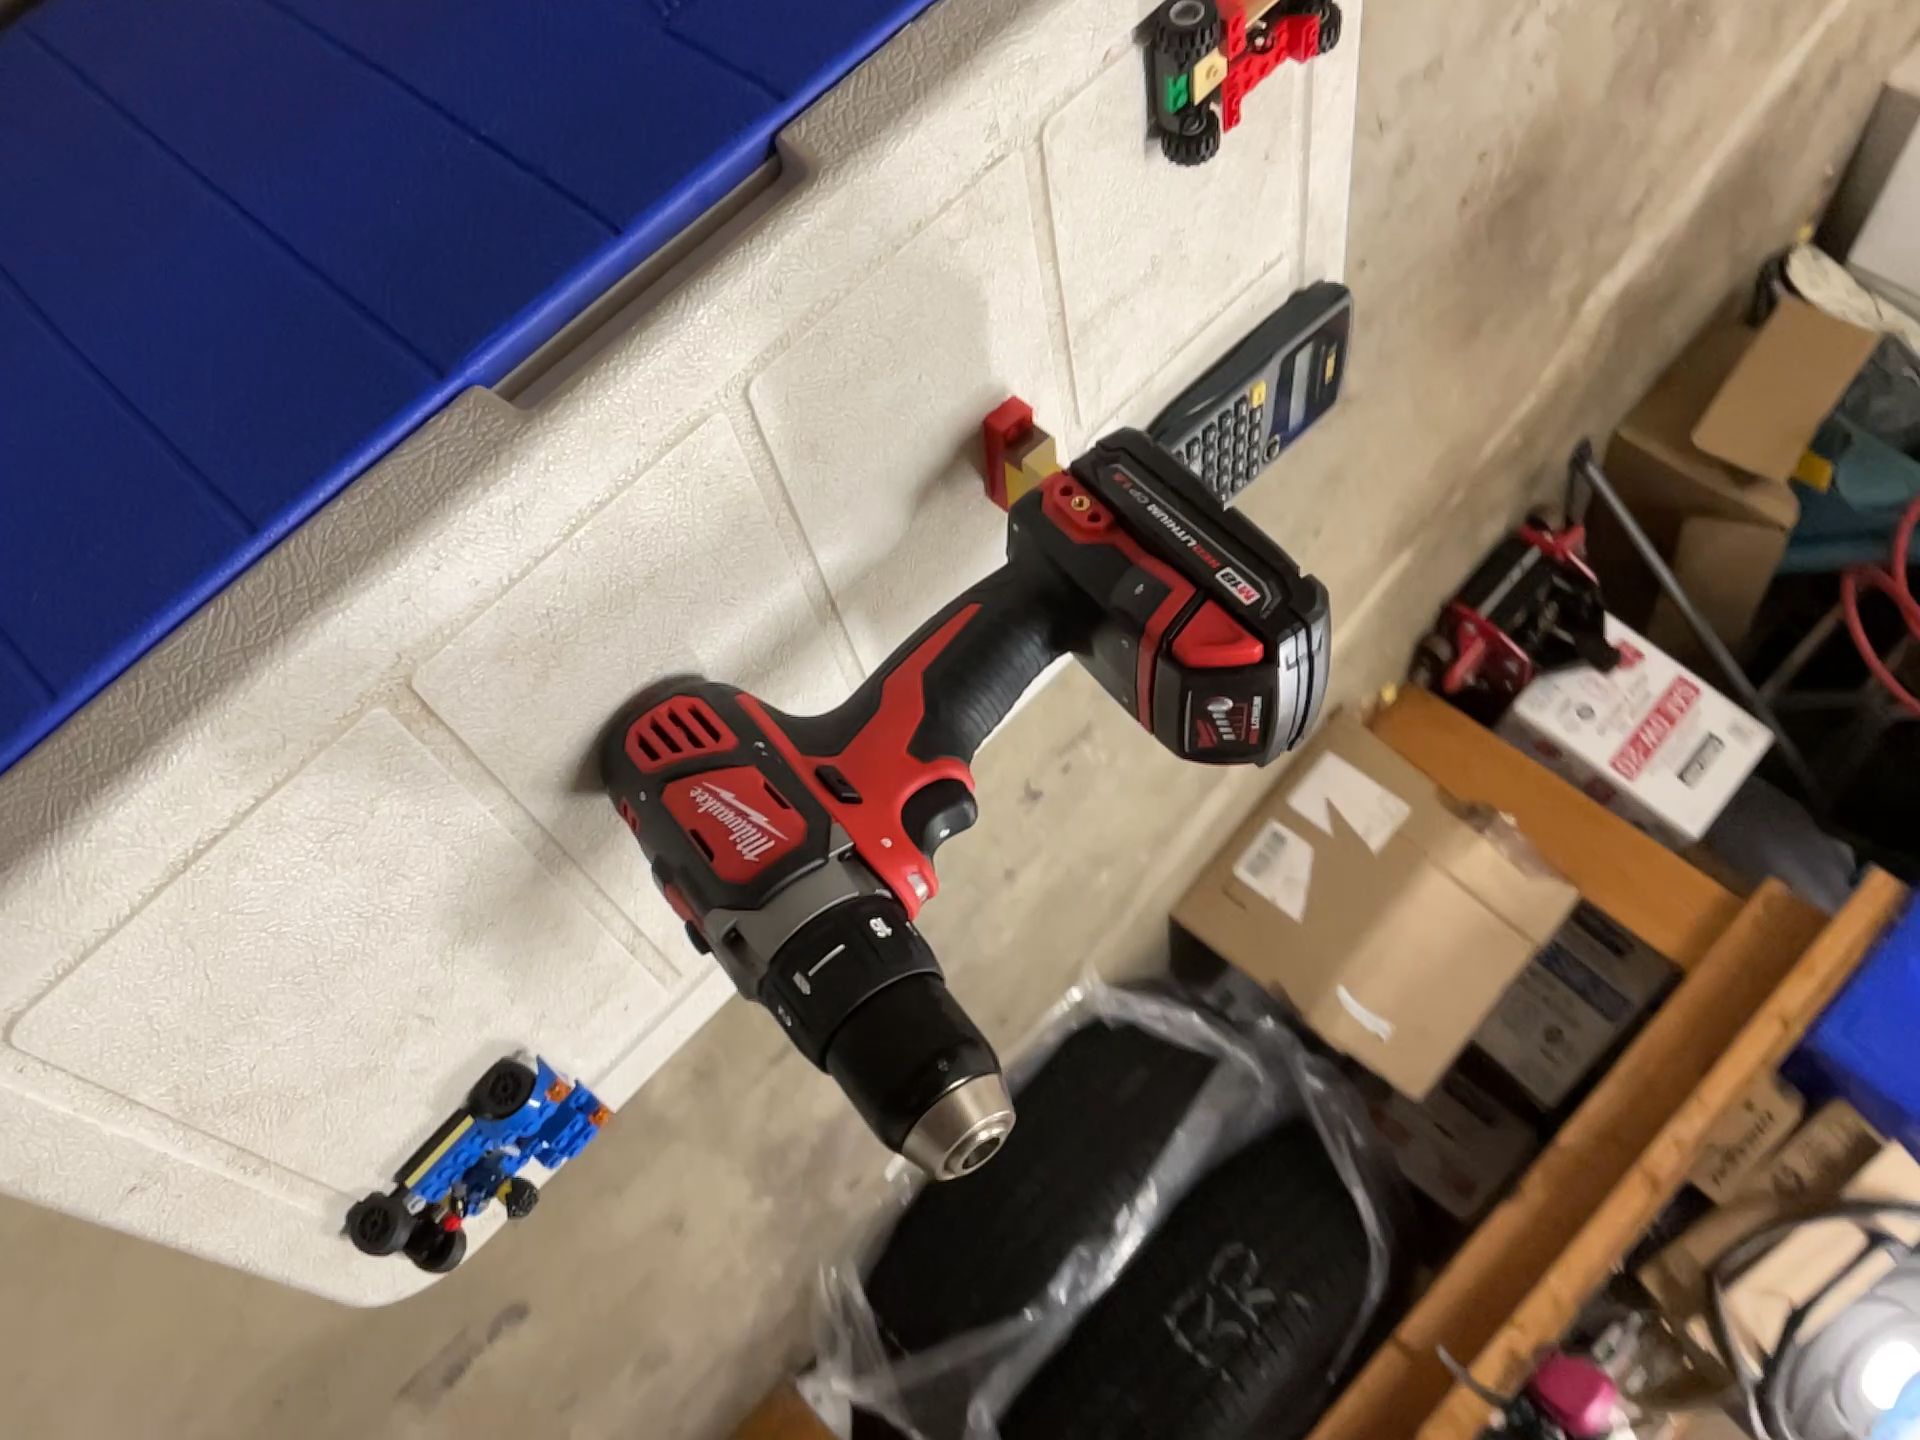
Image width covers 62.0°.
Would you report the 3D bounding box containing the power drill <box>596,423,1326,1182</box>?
[{"bbox_3d":[0.015,0.021,0.524,0.227,0.188,0.080,-33,149,-15],"label":"power drill"}]
